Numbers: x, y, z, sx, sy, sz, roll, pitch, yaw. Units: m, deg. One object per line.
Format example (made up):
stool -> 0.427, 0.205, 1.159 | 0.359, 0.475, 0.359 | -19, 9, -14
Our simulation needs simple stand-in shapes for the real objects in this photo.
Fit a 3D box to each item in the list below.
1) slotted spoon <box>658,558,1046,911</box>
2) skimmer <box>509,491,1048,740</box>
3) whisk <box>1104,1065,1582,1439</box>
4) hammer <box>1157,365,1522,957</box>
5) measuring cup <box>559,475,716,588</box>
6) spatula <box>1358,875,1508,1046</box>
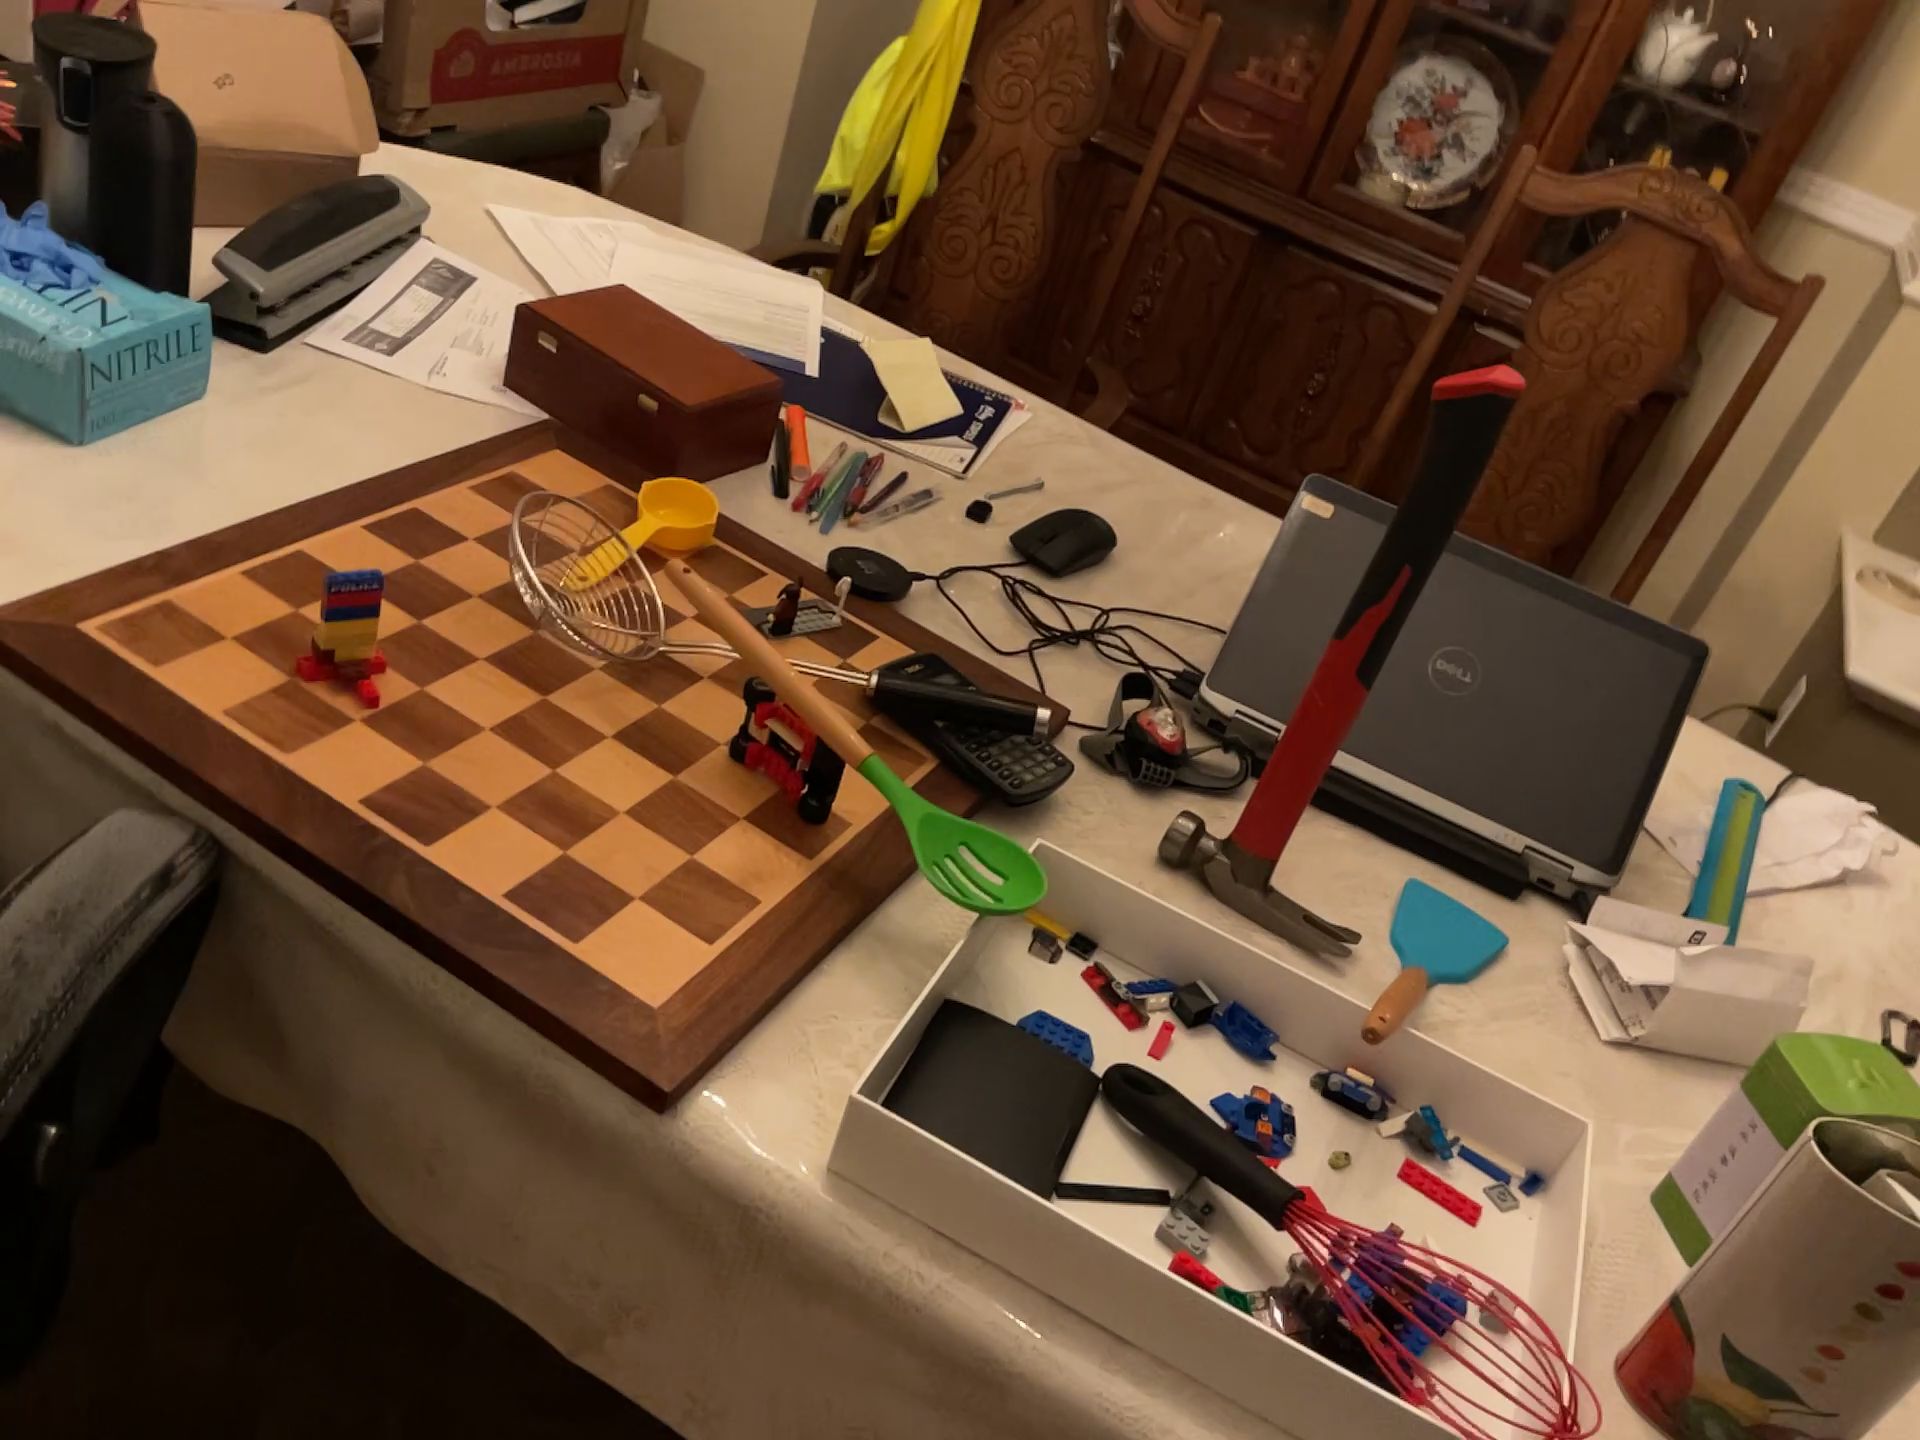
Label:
slotted spoon -> -0.073, 0.006, 0.936 | 0.314, 0.031, 0.070 | 43, 40, 18
skimmer -> -0.113, -0.062, 1.039 | 0.363, 0.090, 0.127 | 13, 31, -3
whisk -> 0.176, 0.254, 0.782 | 0.073, 0.073, 0.296 | 13, 14, -46
hammer -> 0.250, -0.028, 0.964 | 0.143, 0.386, 0.038 | 31, 34, 17
measuring cup -> -0.237, -0.128, 1.151 | 0.062, 0.029, 0.156 | 32, 46, 12
spatula -> 0.280, 0.152, 0.980 | 0.082, 0.044, 0.317 | 34, 14, 18
